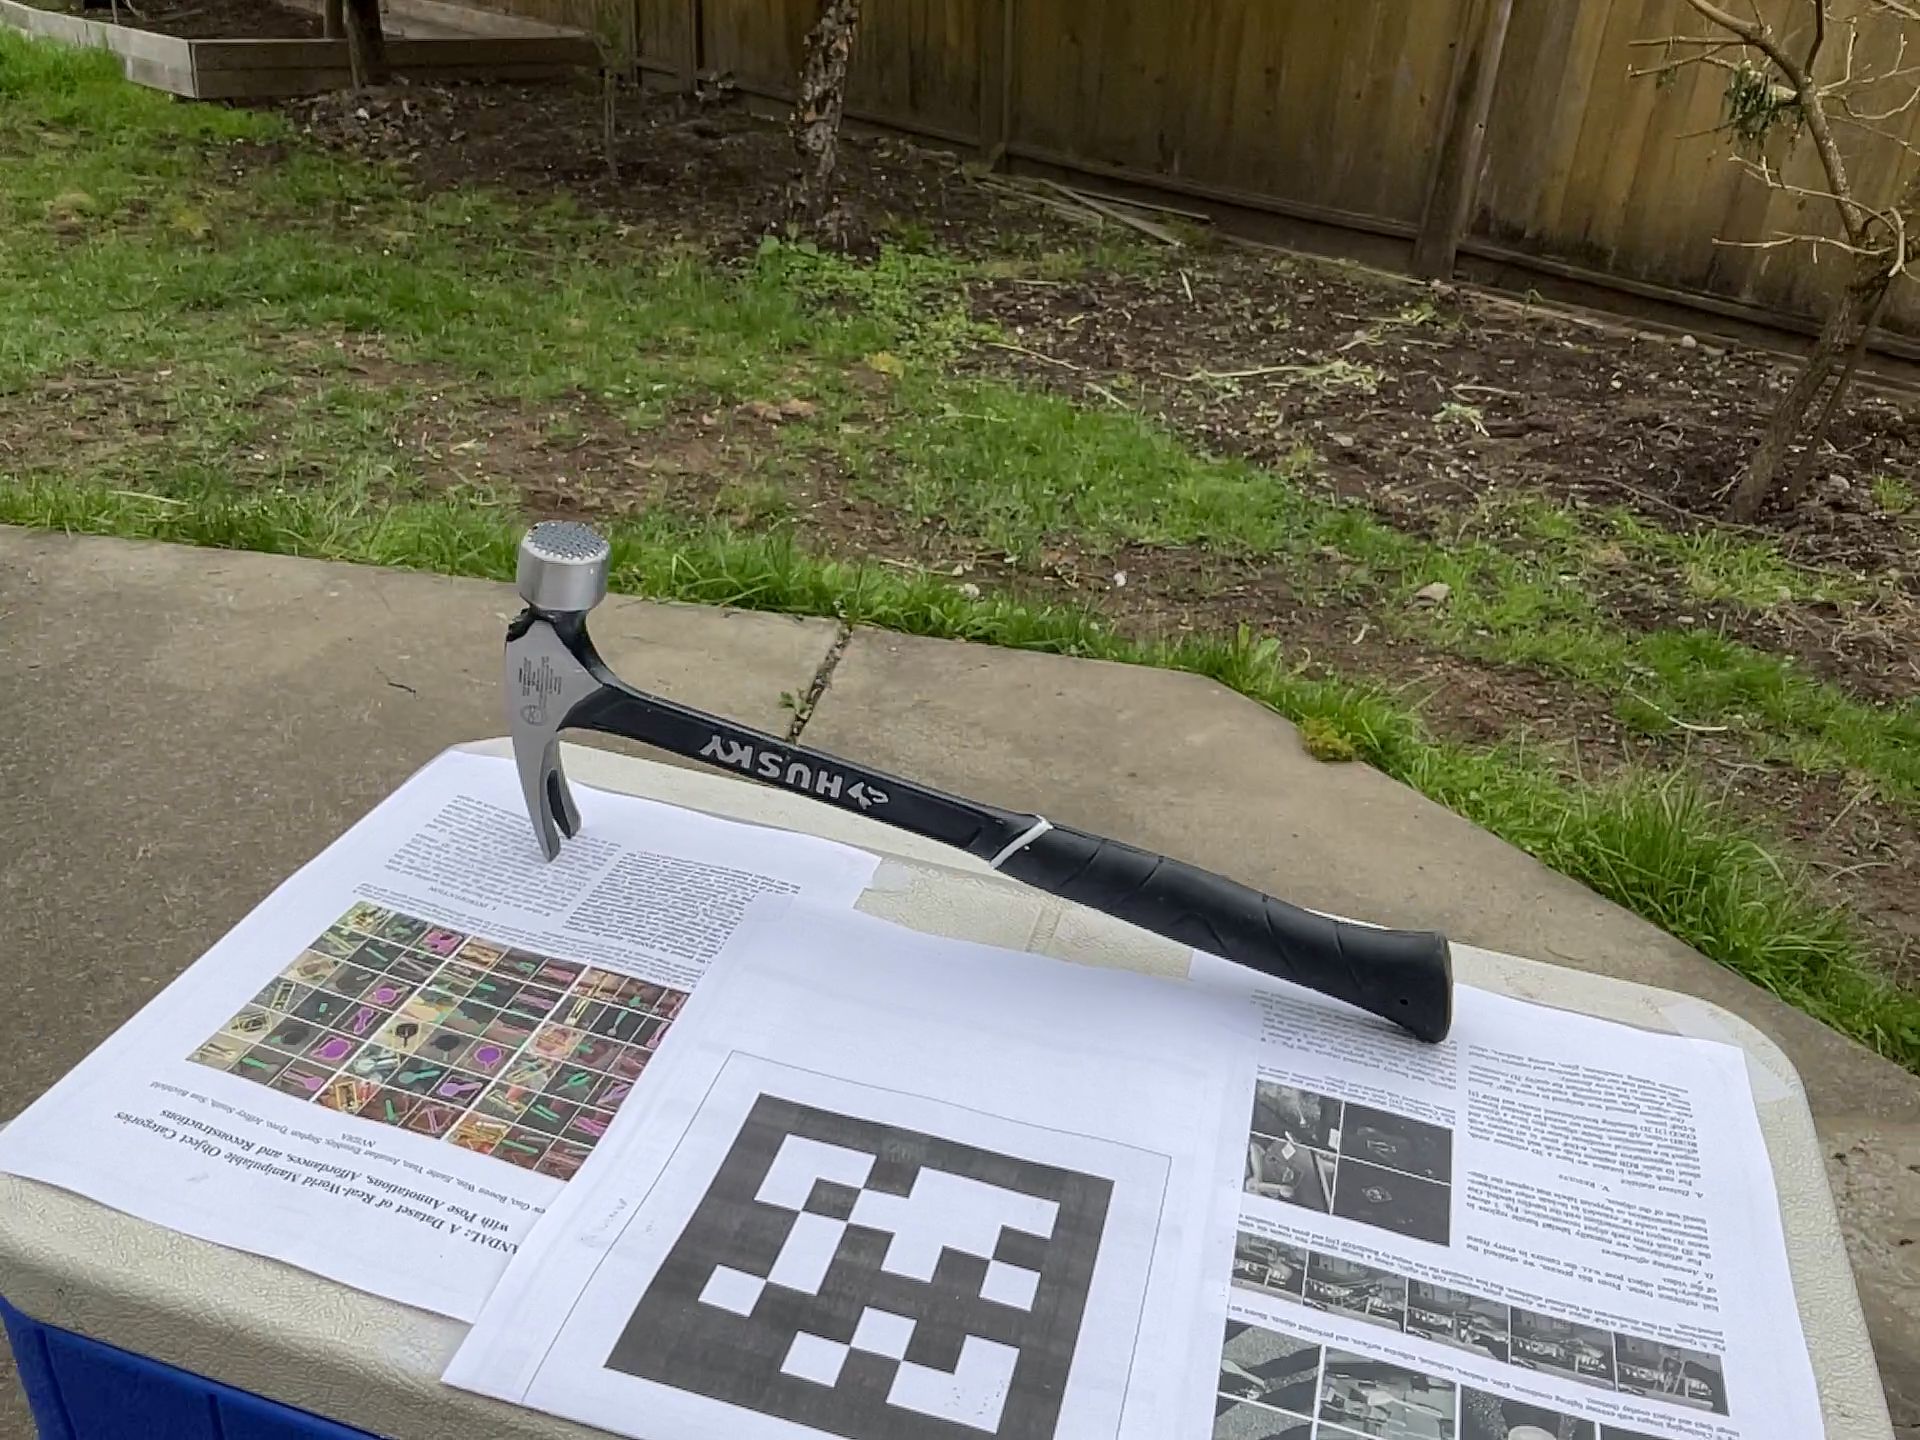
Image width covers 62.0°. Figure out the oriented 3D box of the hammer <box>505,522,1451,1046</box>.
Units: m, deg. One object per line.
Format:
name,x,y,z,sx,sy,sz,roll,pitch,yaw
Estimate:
hammer,0.003,0.050,0.652,0.409,0.149,0.036,19,31,5
